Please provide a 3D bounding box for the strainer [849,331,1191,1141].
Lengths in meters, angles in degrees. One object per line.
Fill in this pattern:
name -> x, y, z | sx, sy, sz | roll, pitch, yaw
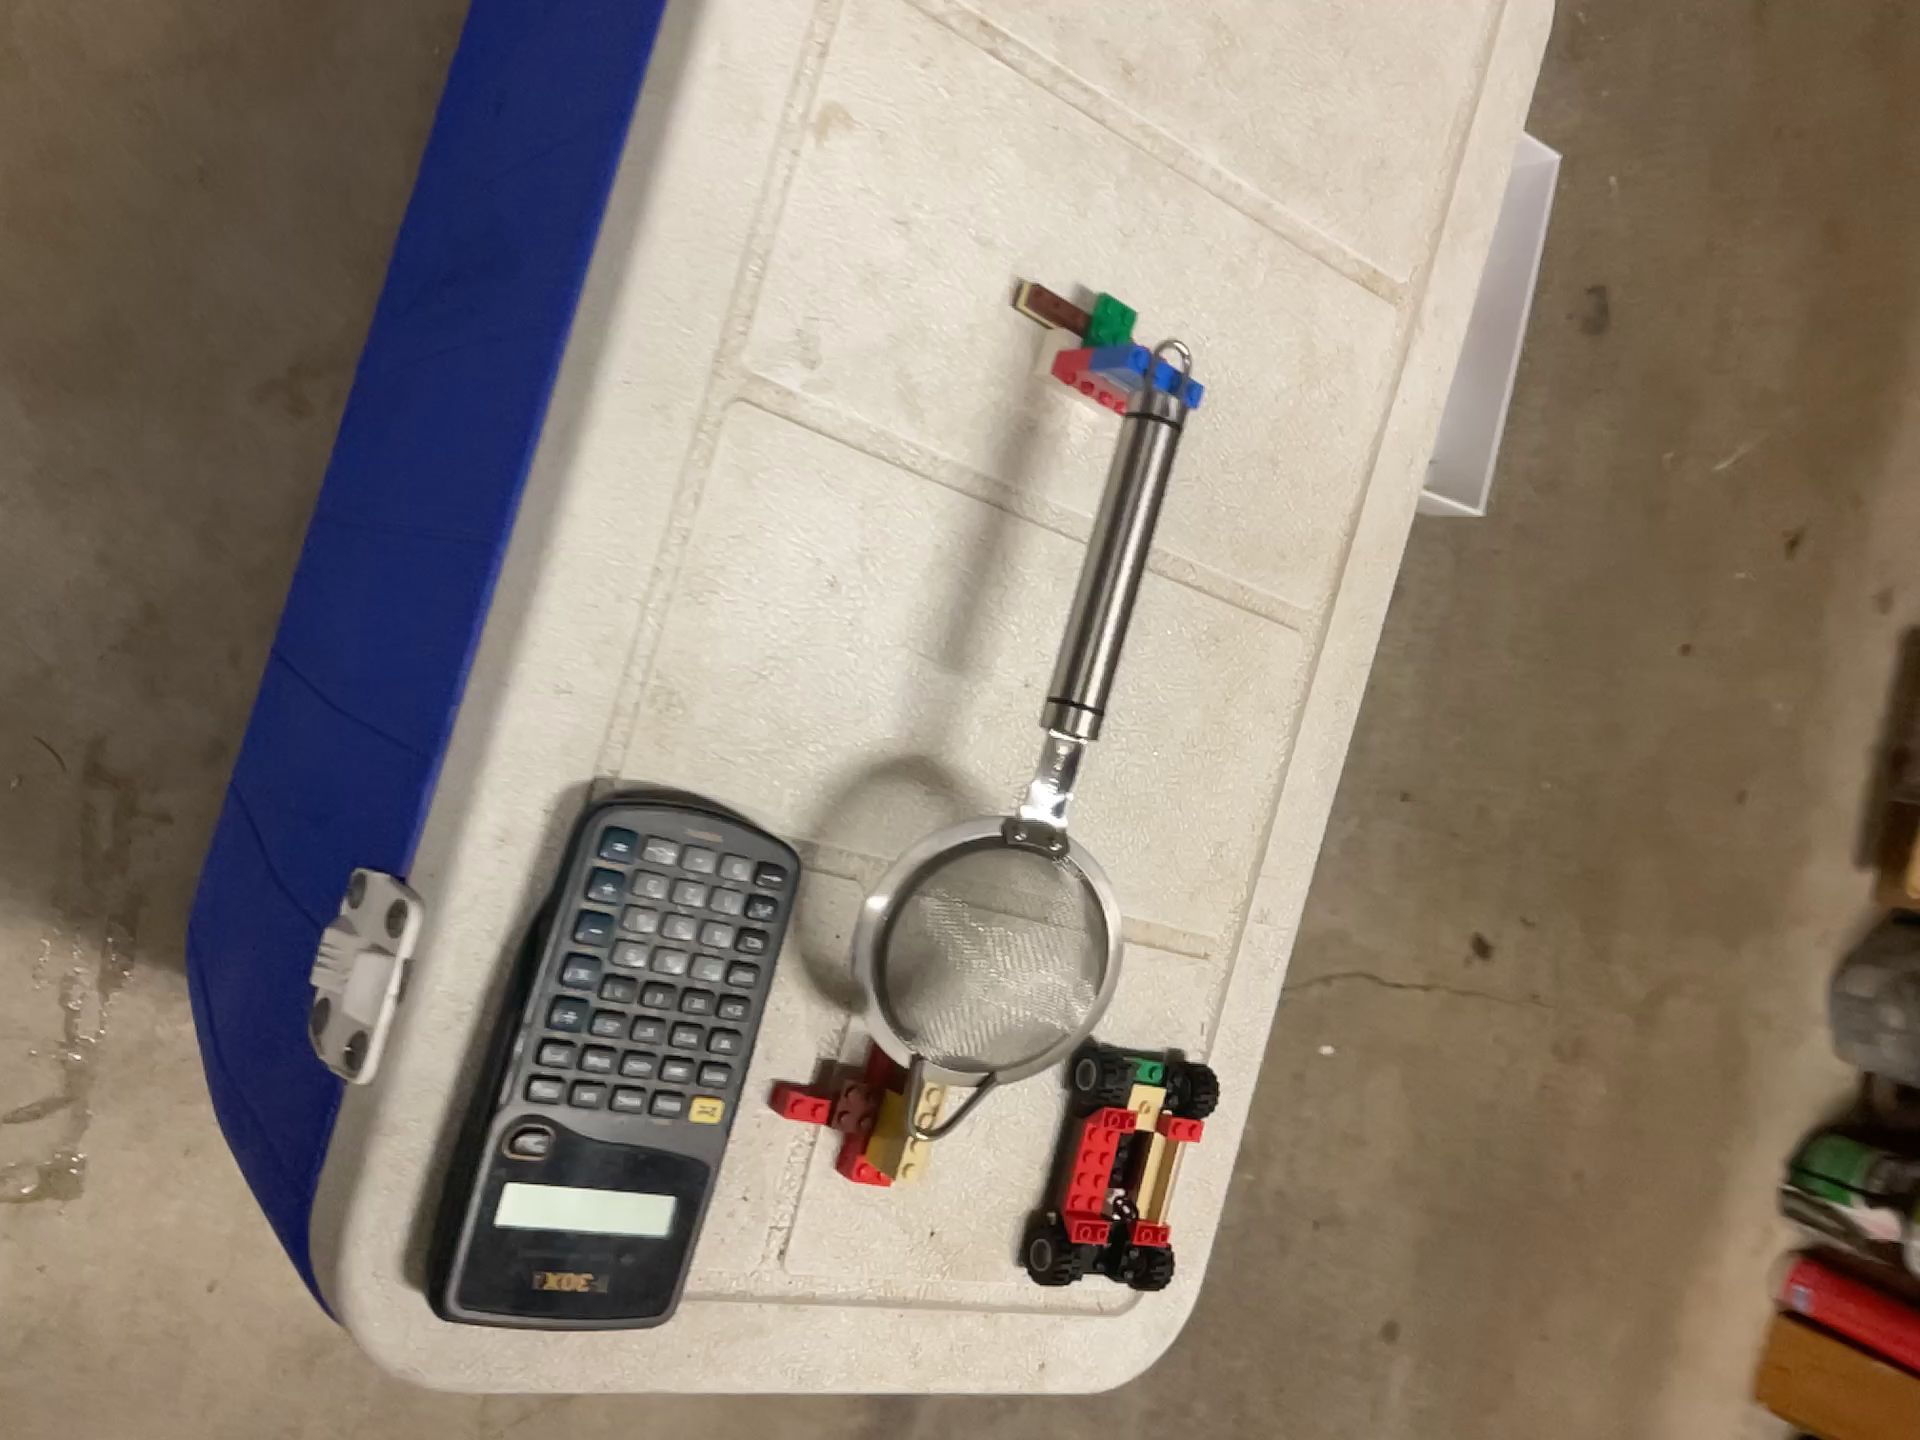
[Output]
strainer -> 0.030, 0.005, 0.477 | 0.087, 0.050, 0.258 | 17, 86, -19
